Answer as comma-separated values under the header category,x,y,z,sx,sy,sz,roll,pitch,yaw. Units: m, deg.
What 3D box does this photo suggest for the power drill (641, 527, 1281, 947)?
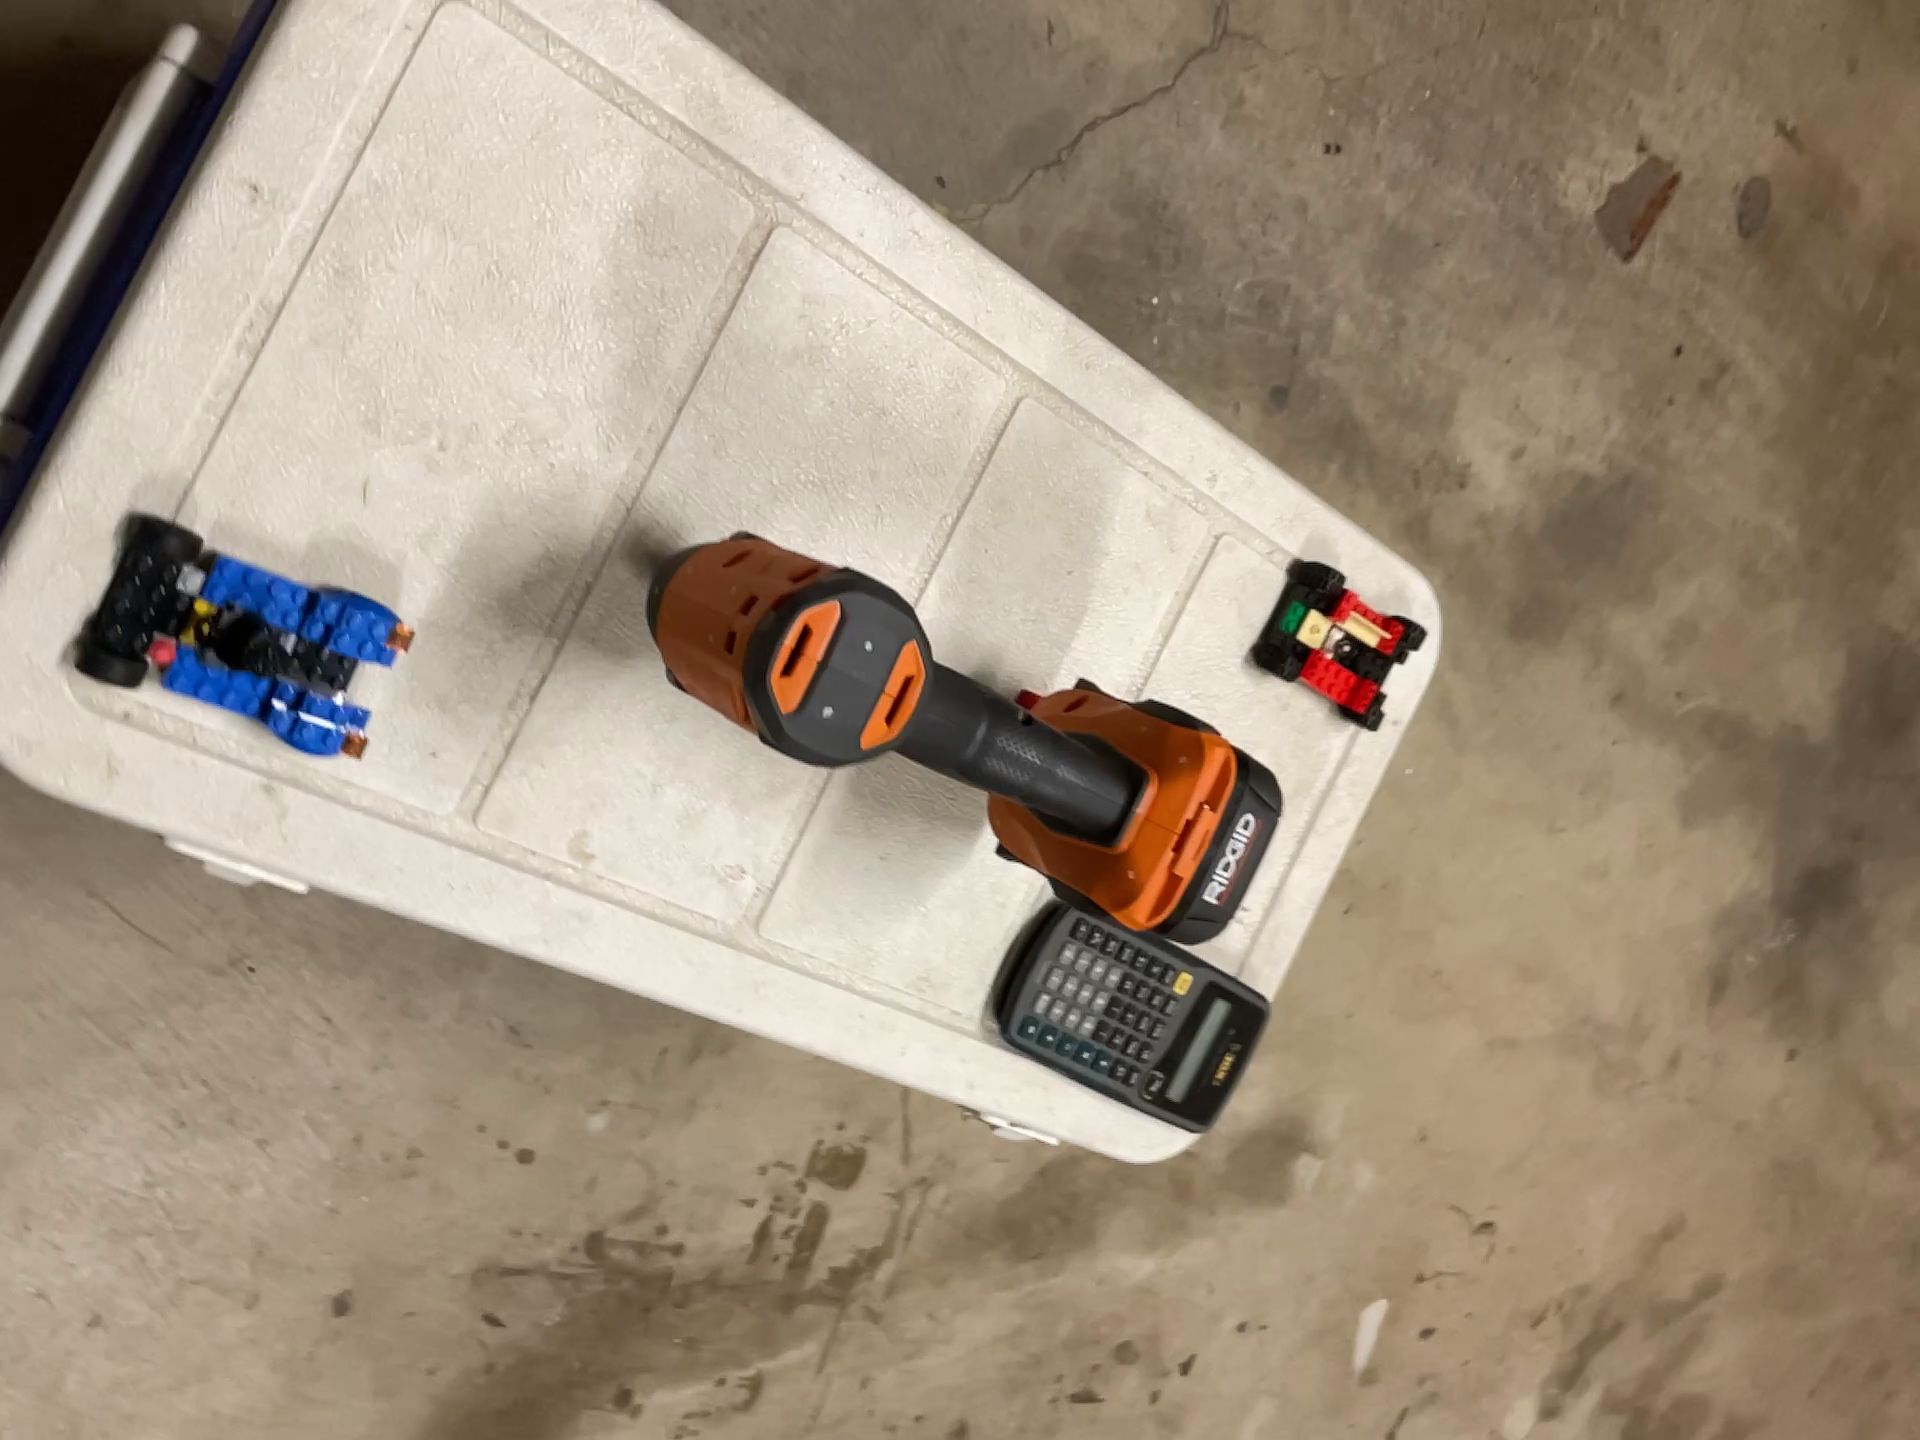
category,x,y,z,sx,sy,sz,roll,pitch,yaw
power drill,-0.010,-0.002,0.591,0.226,0.164,0.084,26,90,-33
